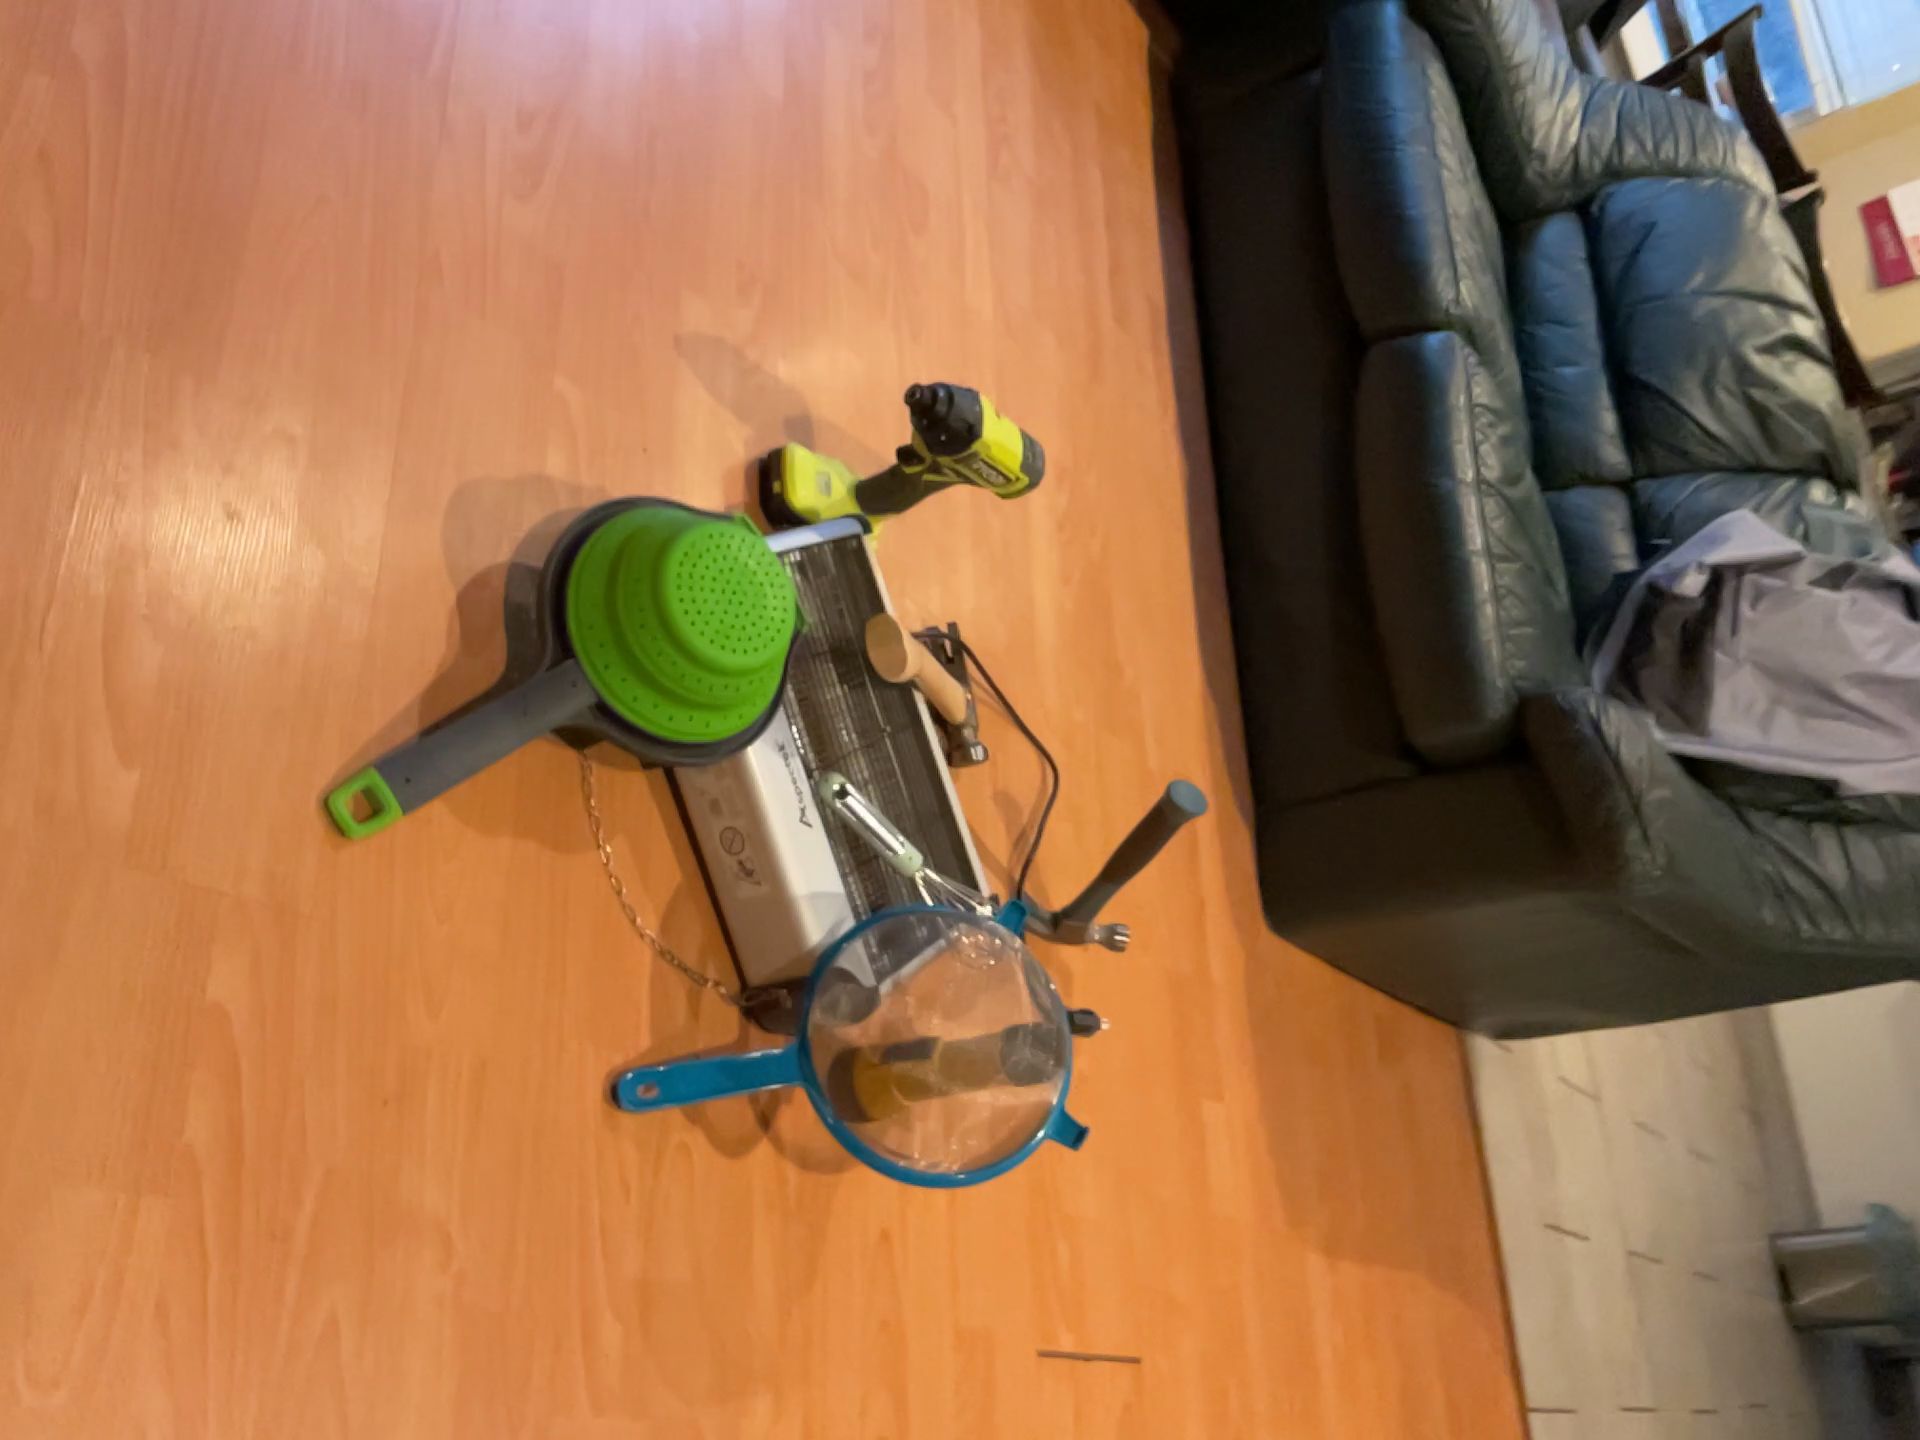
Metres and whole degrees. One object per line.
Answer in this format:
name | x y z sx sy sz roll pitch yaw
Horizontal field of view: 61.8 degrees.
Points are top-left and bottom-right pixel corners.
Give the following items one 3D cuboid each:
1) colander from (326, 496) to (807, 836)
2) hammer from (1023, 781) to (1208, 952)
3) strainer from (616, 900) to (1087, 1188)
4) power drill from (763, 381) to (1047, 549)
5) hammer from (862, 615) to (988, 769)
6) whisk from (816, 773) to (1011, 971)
colander | -0.234 -0.038 1.071 0.397 0.094 0.204 -36 100 -41
hammer | 0.153 0.143 1.521 0.128 0.330 0.033 10 59 -13
strainer | -0.066 0.225 1.128 0.340 0.095 0.211 -5 64 -23
power drill | -0.059 -0.224 1.414 0.171 0.223 0.080 25 54 -52
hammer | -0.031 -0.048 1.404 0.410 0.038 0.146 40 38 -79
whisk | -0.035 0.124 1.294 0.246 0.059 0.058 48 68 -31
